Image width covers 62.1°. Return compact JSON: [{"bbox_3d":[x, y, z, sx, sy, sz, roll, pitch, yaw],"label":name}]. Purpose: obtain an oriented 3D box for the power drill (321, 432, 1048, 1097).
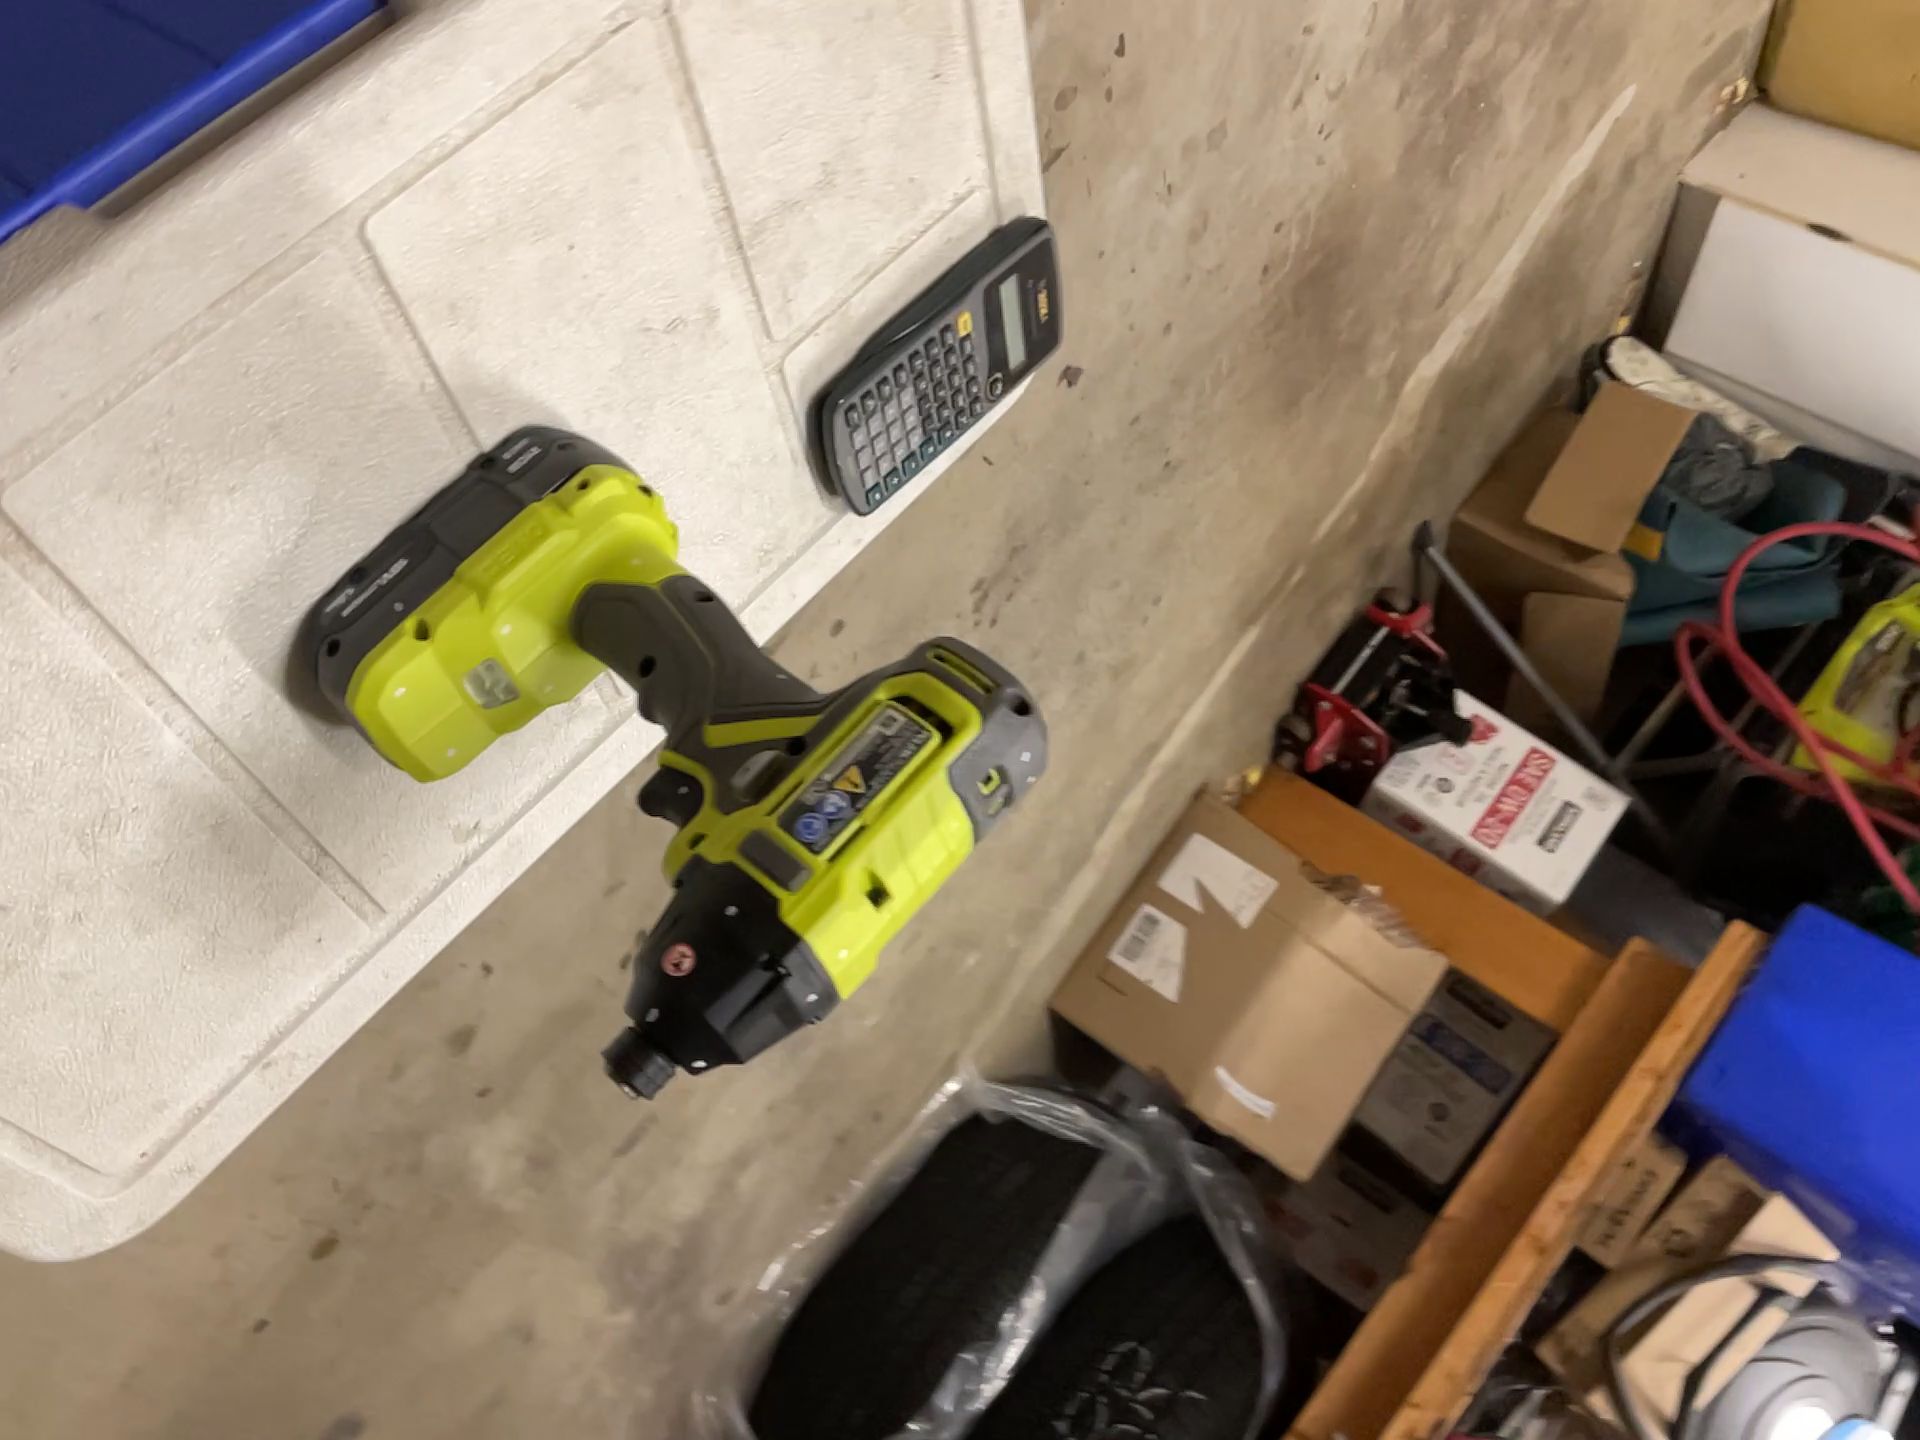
[{"bbox_3d":[-0.106,0.007,0.541,0.171,0.223,0.080,-46,150,-18],"label":"power drill"}]
